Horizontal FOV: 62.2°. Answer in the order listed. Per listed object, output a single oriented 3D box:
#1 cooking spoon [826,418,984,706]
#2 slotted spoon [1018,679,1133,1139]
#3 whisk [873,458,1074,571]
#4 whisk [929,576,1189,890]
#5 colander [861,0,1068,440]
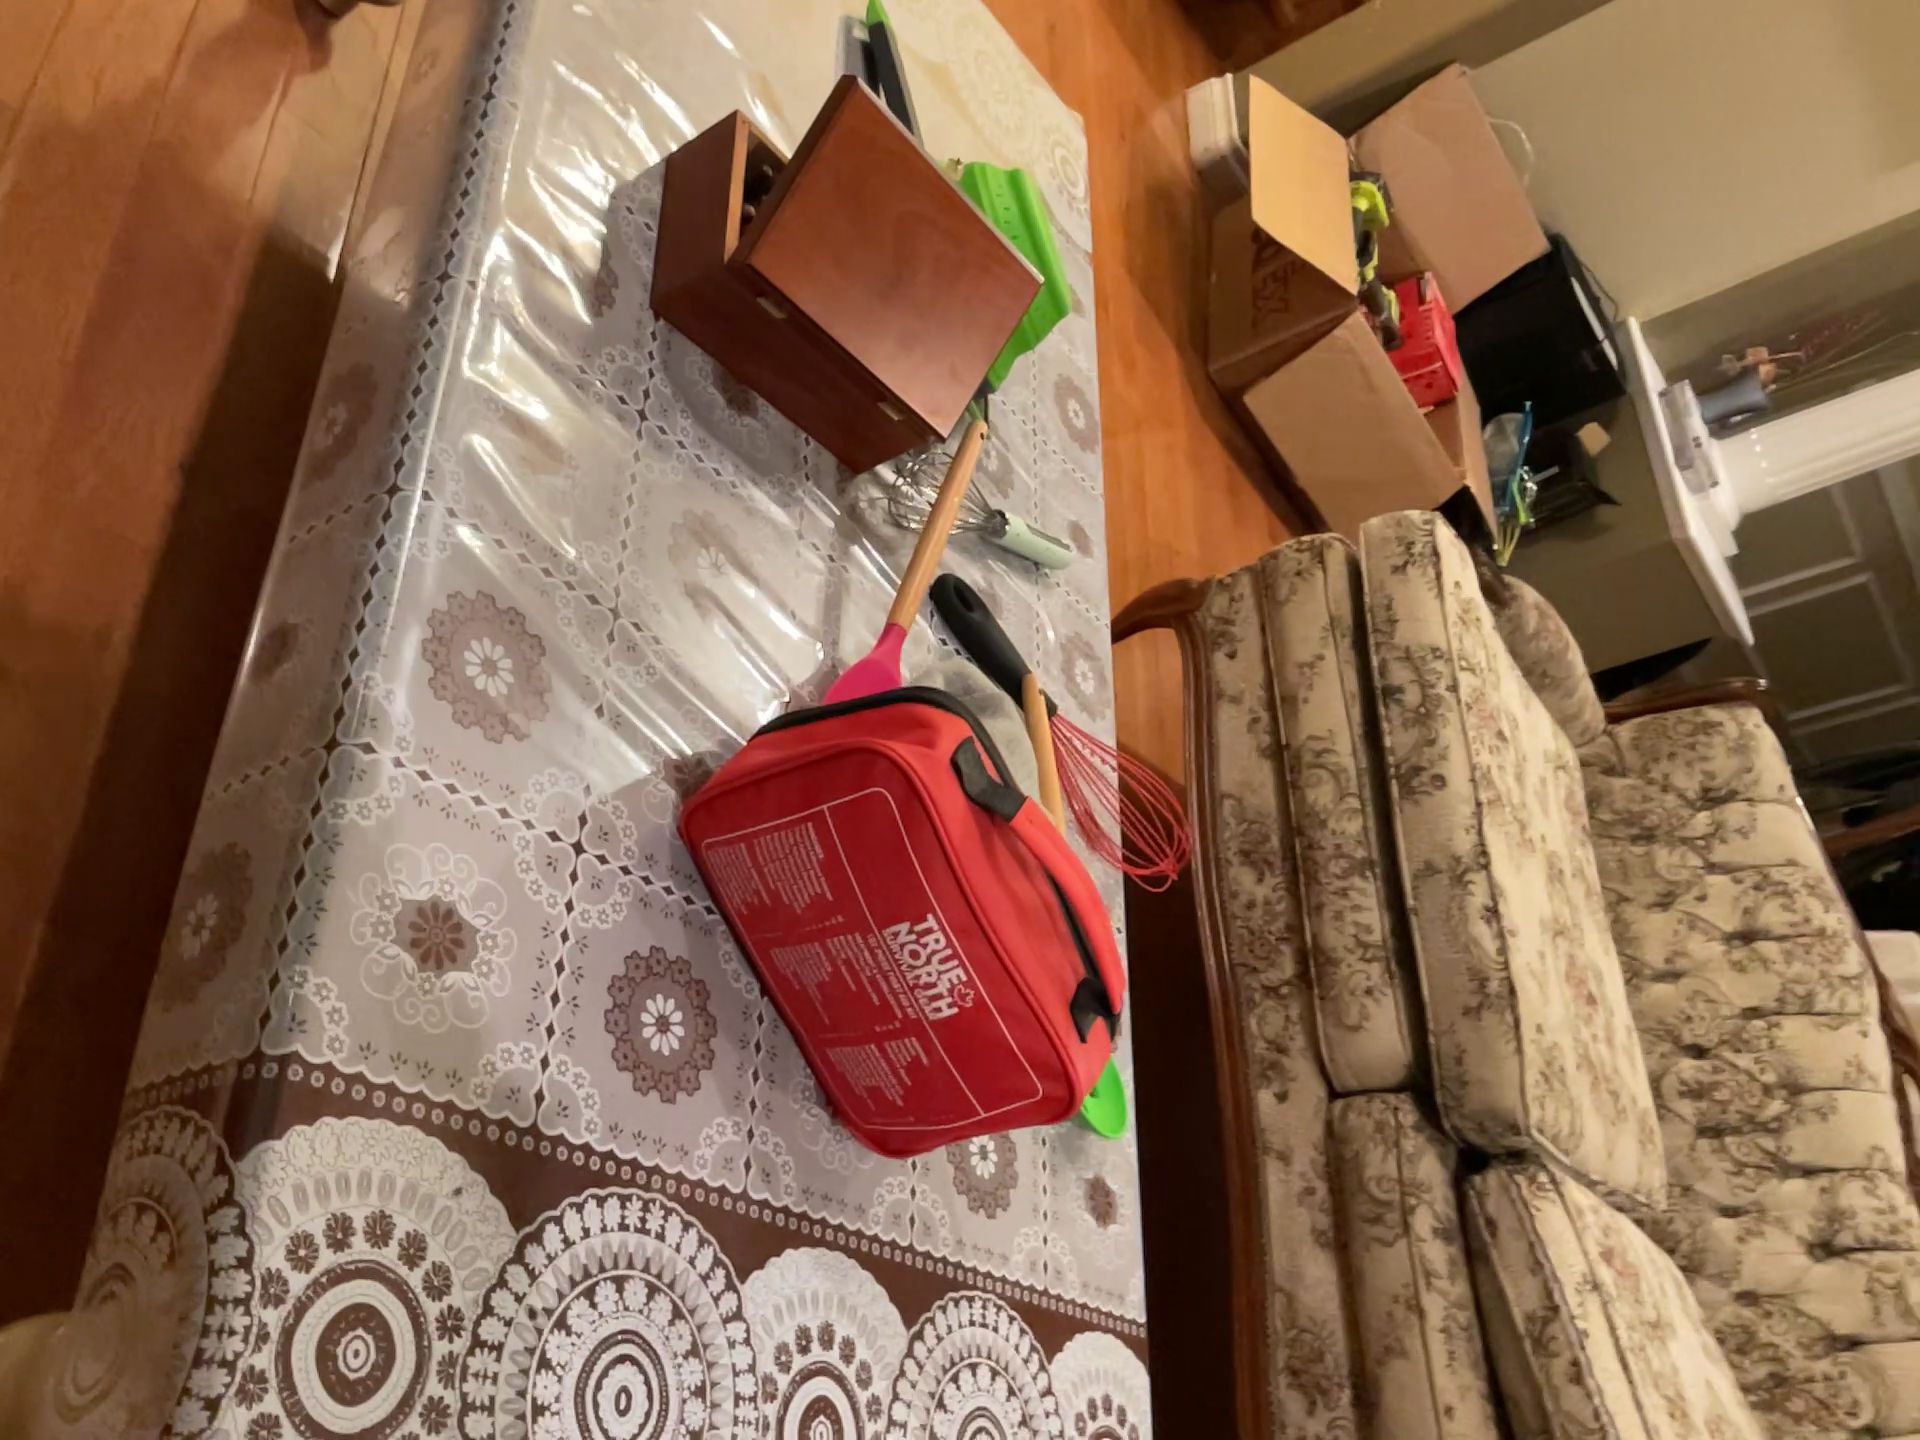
[{"bbox_3d":[-0.033,-0.074,1.001,0.068,0.017,0.319,46,49,-36],"label":"cooking spoon"},{"bbox_3d":[0.070,0.123,1.071,0.070,0.031,0.314,11,66,-55],"label":"slotted spoon"},{"bbox_3d":[0.018,-0.142,1.158,0.246,0.059,0.058,12,105,-57],"label":"whisk"},{"bbox_3d":[0.073,0.011,1.138,0.295,0.073,0.073,50,42,-18],"label":"whisk"},{"bbox_3d":[0.003,-0.403,1.187,0.204,0.094,0.397,52,23,-63],"label":"colander"}]
